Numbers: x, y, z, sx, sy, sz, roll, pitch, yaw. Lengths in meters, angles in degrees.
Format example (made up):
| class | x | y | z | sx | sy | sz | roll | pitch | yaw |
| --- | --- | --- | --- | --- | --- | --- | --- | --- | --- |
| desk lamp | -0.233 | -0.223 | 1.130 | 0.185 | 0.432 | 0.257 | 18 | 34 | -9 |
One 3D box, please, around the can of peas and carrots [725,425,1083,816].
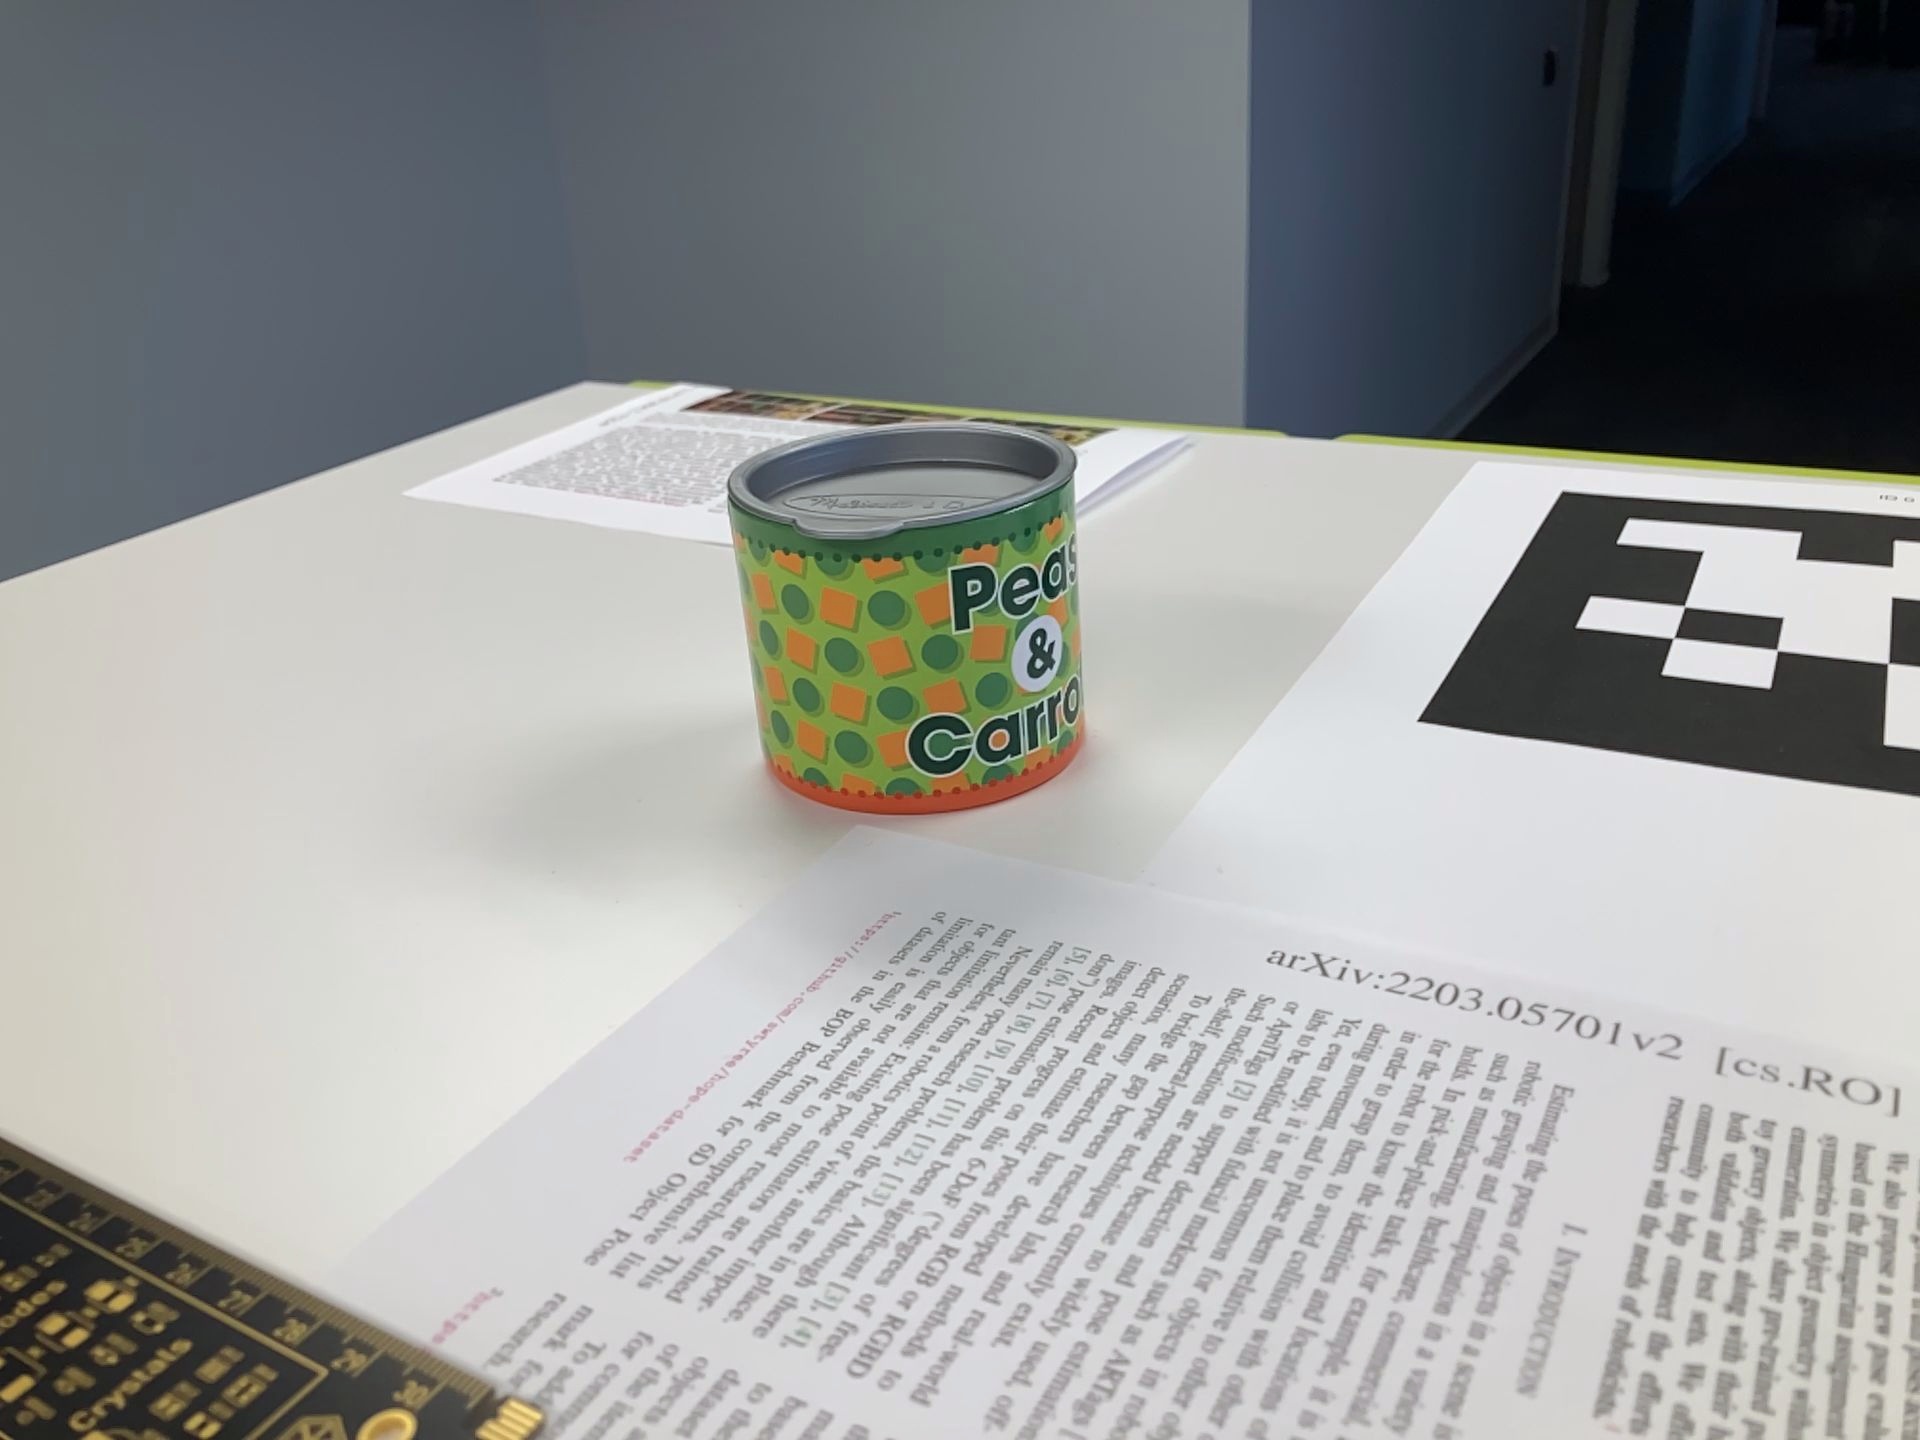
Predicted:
| class | x | y | z | sx | sy | sz | roll | pitch | yaw |
| --- | --- | --- | --- | --- | --- | --- | --- | --- | --- |
| can of peas and carrots | -0.008 | -0.021 | 0.309 | 0.071 | 0.059 | 0.071 | -3 | 25 | 2 |
